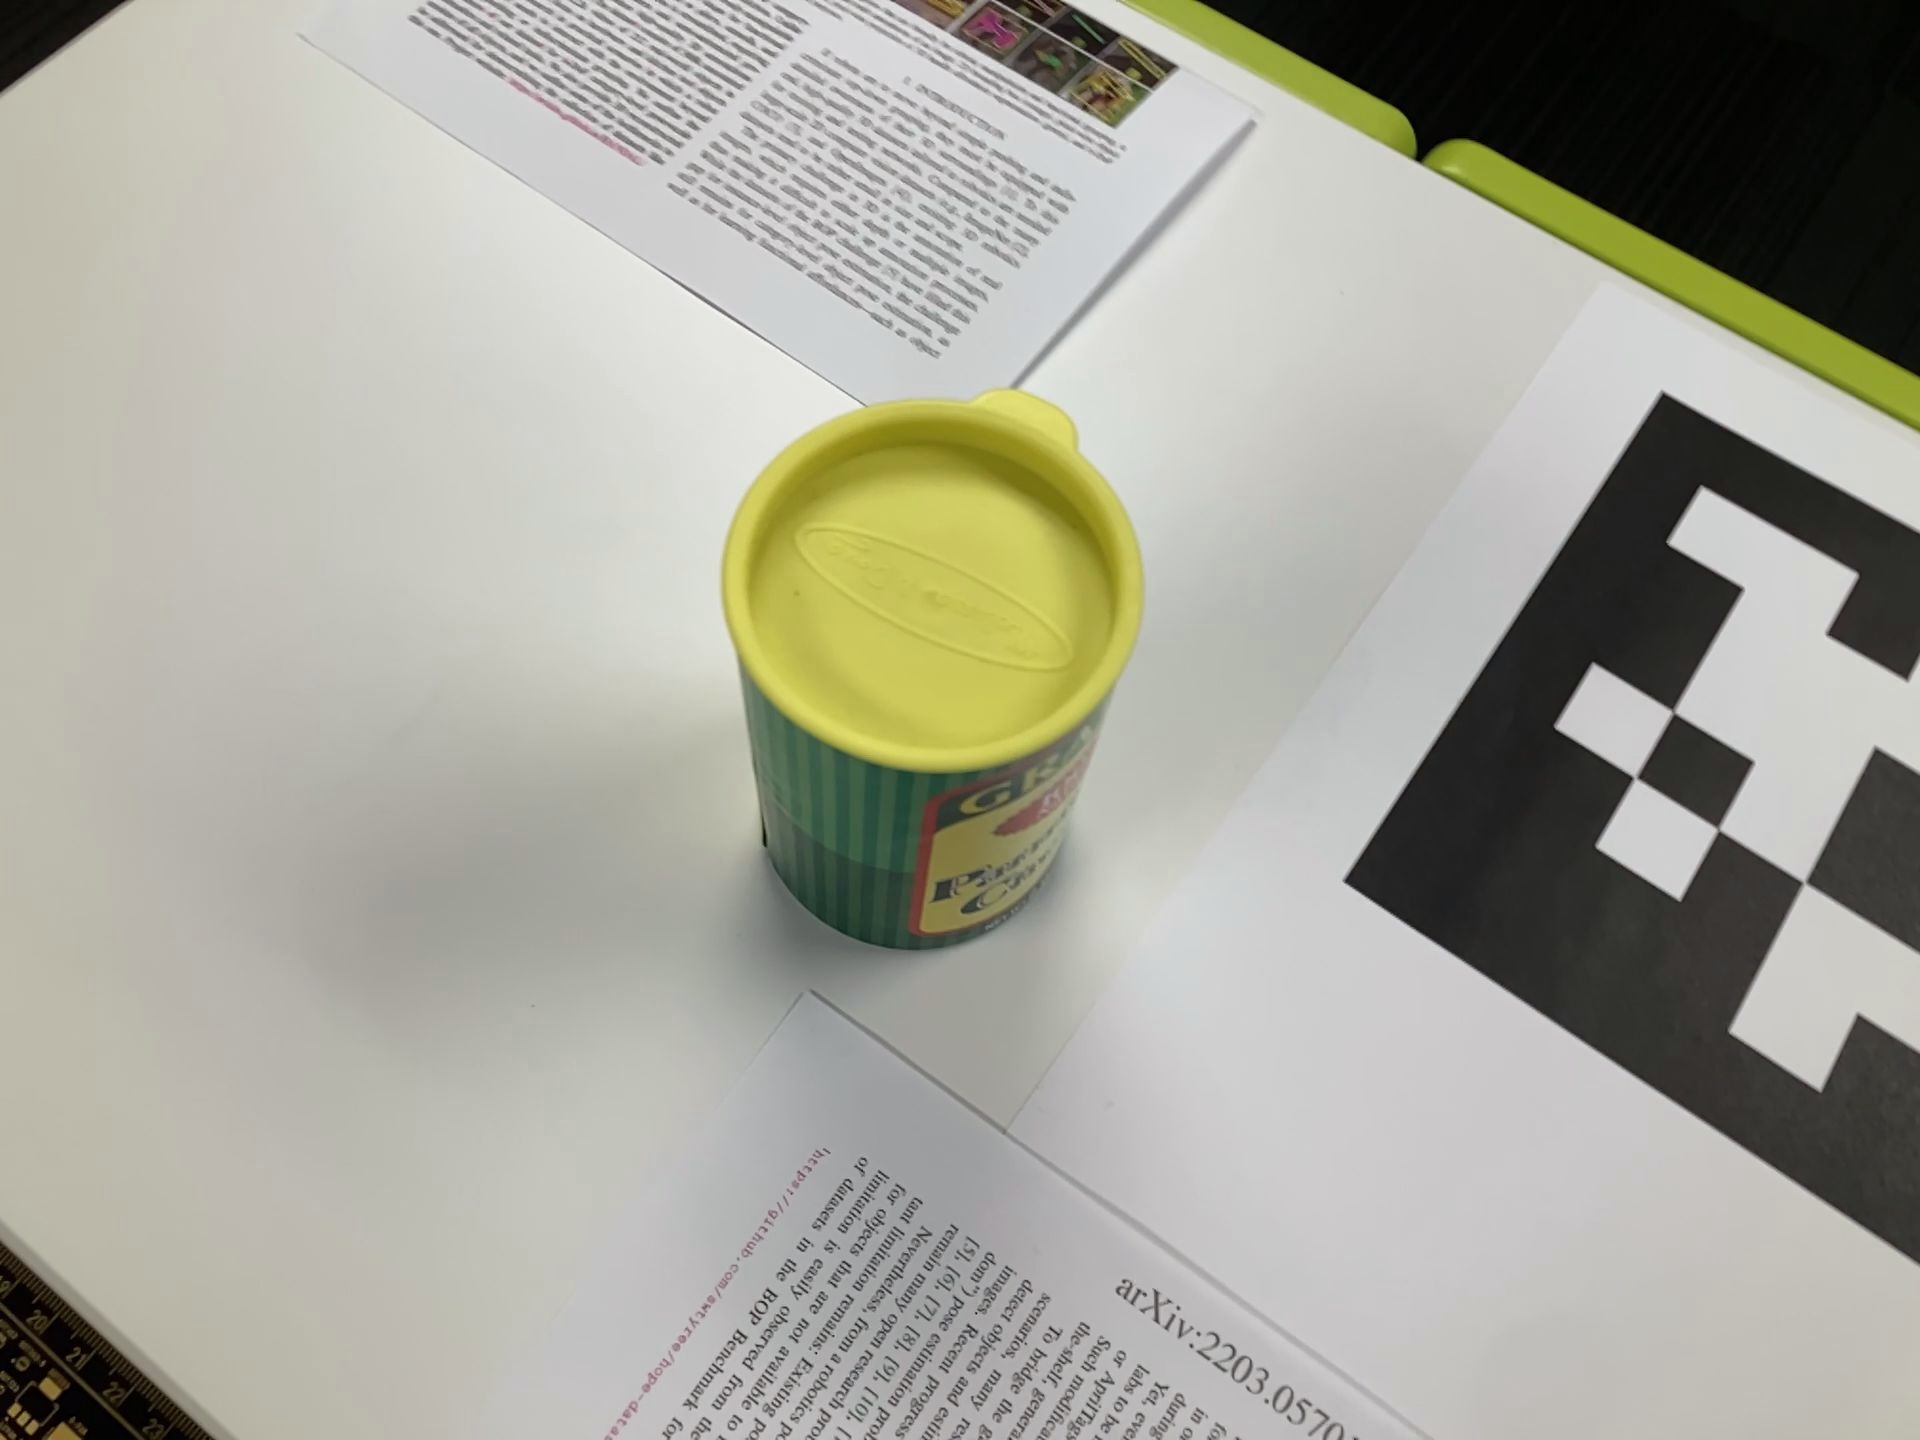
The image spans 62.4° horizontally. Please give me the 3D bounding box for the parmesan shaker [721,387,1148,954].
[{"bbox_3d":[-0.005,-0.004,0.293,0.071,0.103,0.071,1,66,-3],"label":"parmesan shaker"}]
